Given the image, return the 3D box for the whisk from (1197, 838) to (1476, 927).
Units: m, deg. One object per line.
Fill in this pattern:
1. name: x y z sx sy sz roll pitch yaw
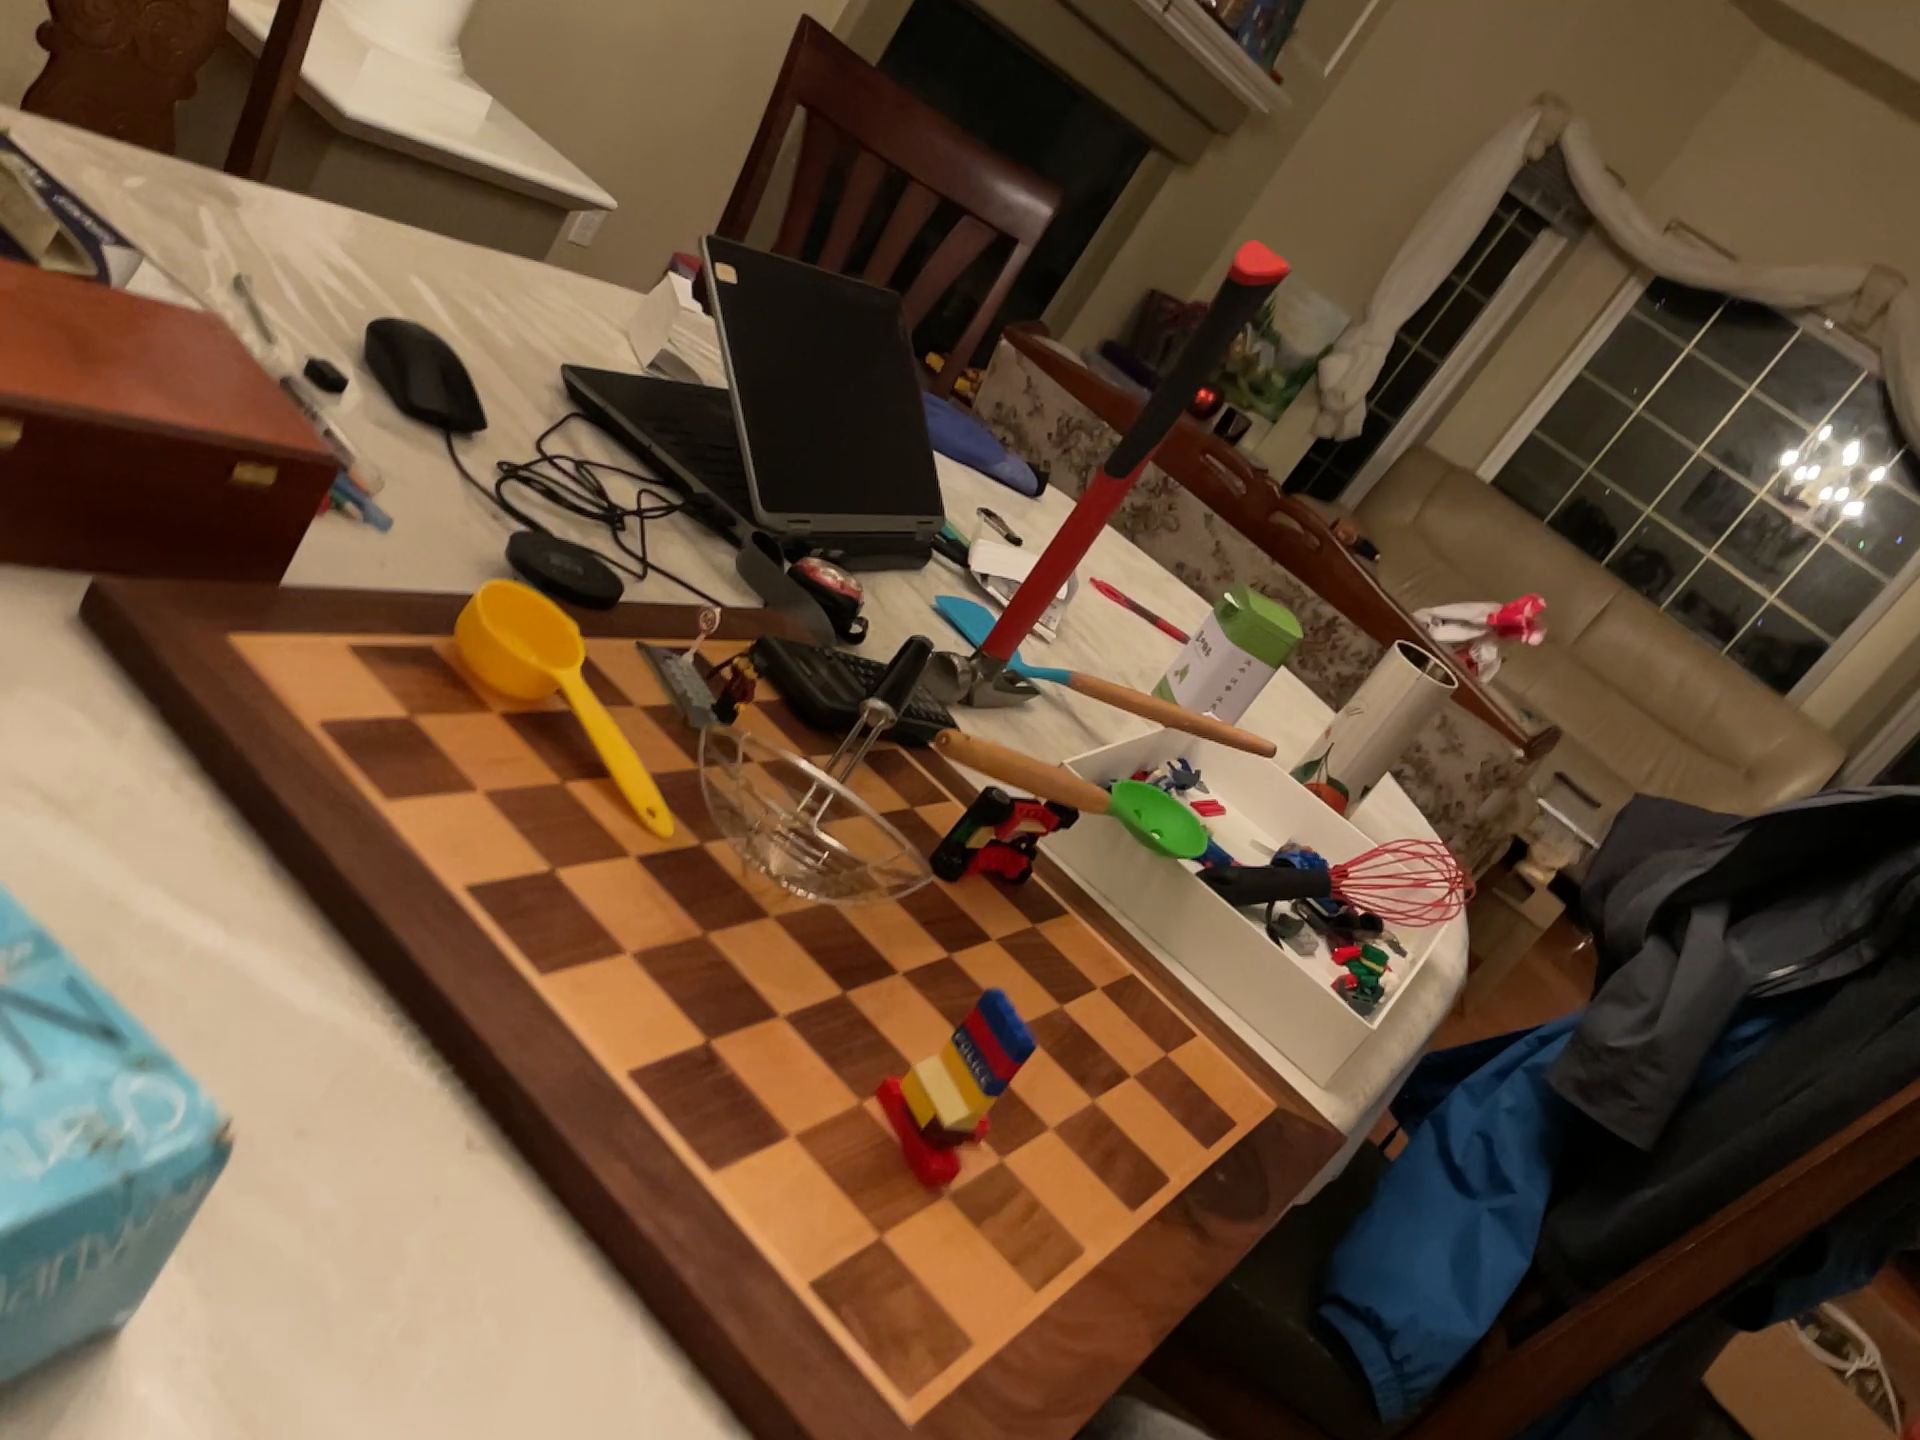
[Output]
1. whisk: 0.288 0.126 1.211 0.295 0.073 0.073 3 16 -34

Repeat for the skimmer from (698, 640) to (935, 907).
1. skimmer: -0.045 -0.002 0.864 0.127 0.090 0.363 33 23 -2

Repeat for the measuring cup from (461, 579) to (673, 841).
1. measuring cup: -0.186 0.000 0.754 0.157 0.029 0.062 55 21 15

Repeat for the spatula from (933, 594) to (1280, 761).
1. spatula: 0.116 -0.034 1.284 0.318 0.044 0.082 22 9 30

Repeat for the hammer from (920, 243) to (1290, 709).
1. hammer: 0.115 -0.166 1.157 0.038 0.386 0.143 43 21 22

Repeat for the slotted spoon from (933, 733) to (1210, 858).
1. slotted spoon: 0.068 0.042 0.910 0.070 0.031 0.313 49 14 29
